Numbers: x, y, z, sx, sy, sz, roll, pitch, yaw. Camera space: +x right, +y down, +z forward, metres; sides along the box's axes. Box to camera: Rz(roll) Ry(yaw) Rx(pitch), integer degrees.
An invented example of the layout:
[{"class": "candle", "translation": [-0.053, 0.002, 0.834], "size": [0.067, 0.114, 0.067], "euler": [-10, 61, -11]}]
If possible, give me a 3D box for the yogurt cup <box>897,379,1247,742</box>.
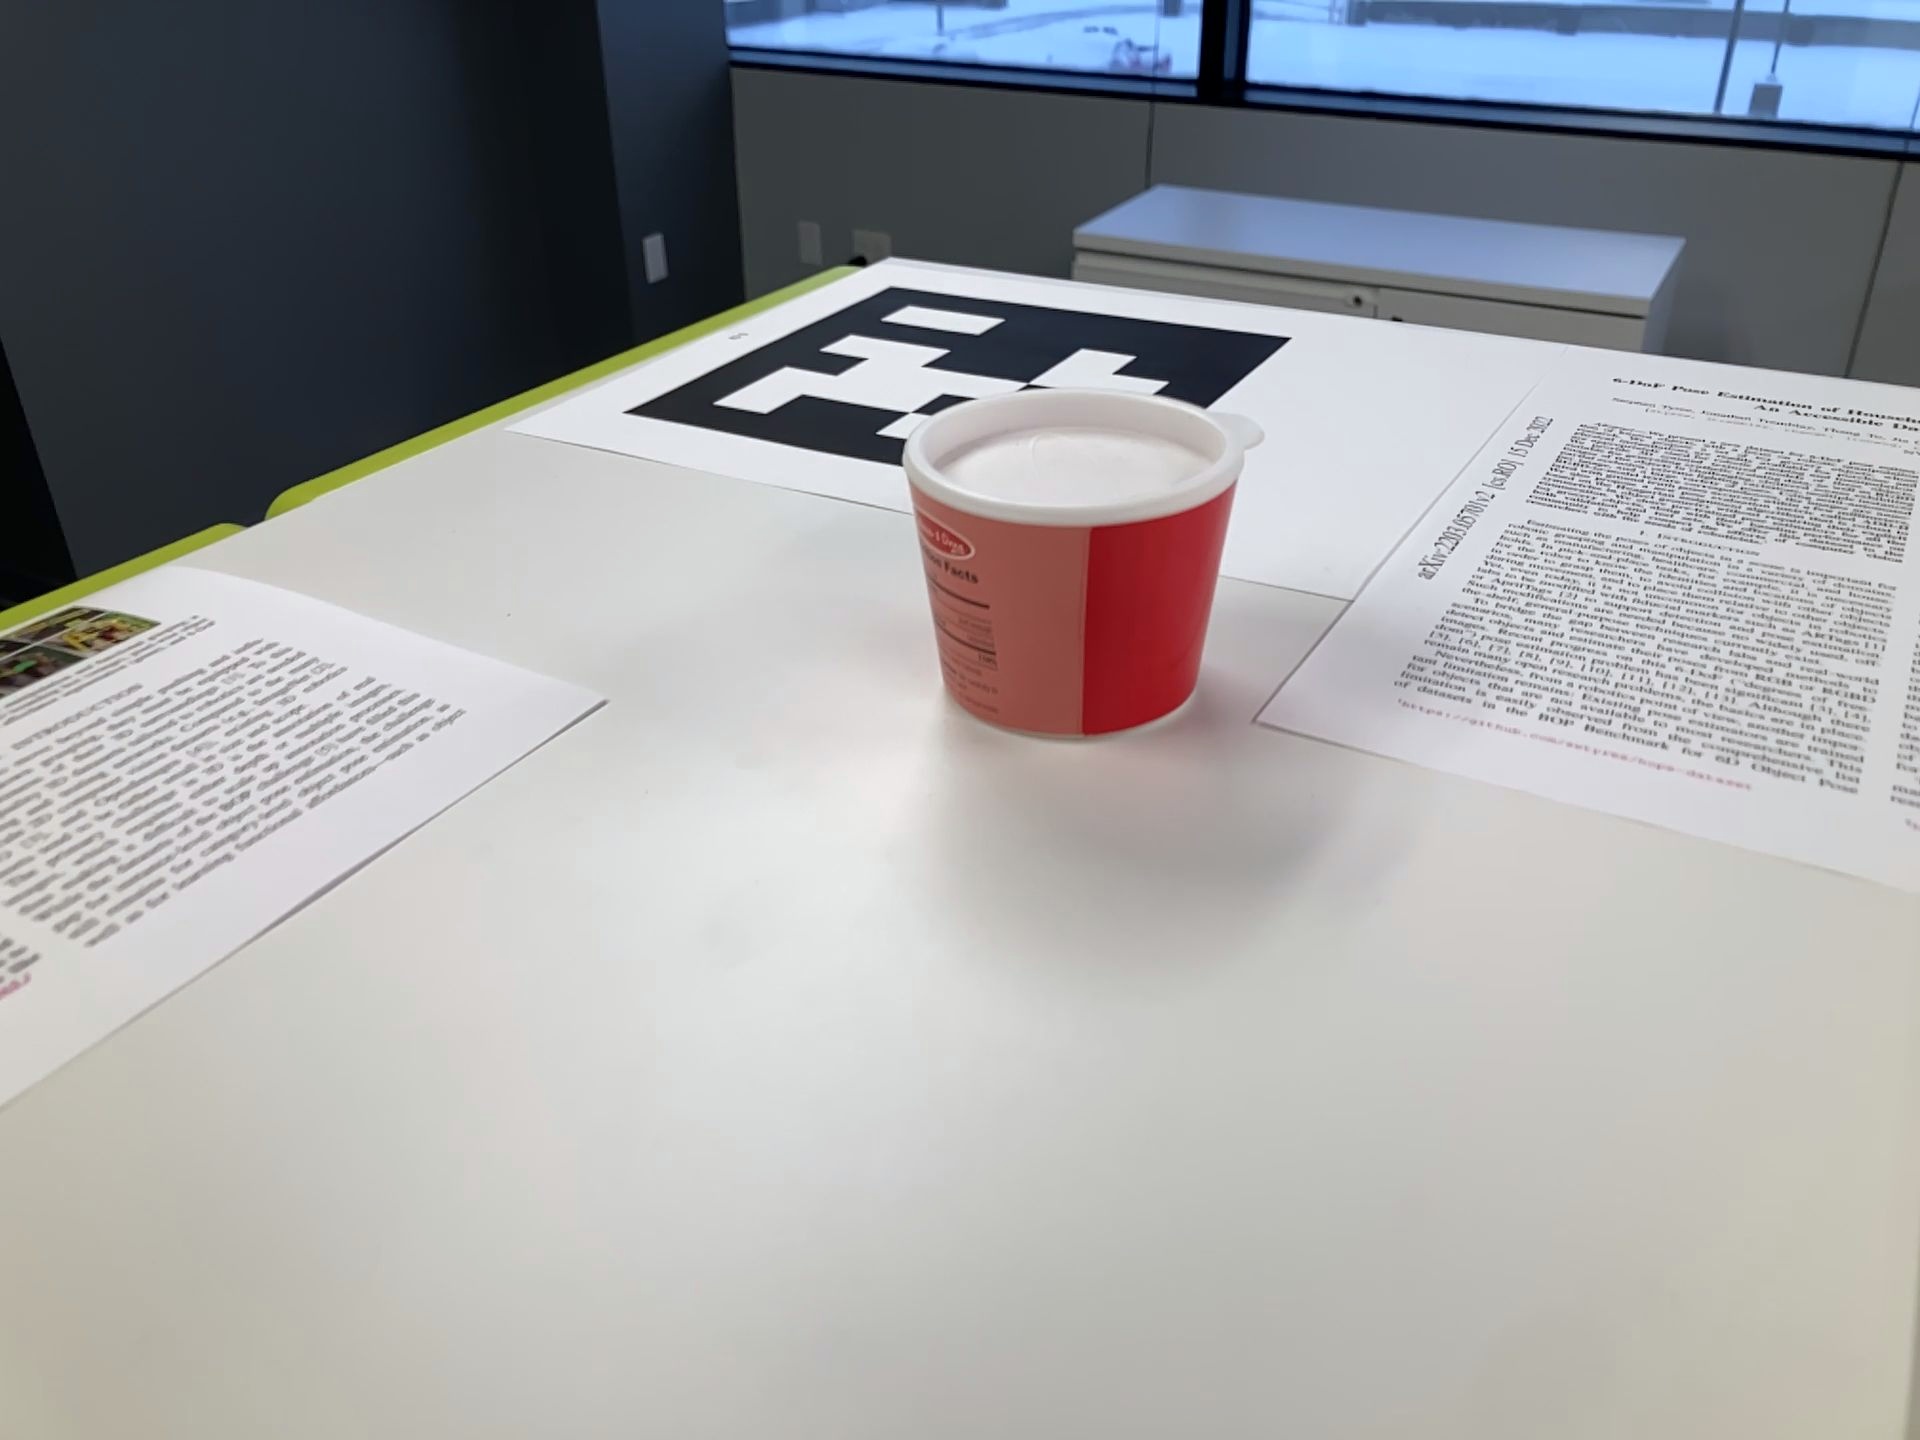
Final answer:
[{"class": "yogurt cup", "translation": [0.023, -0.032, 0.322], "size": [0.072, 0.054, 0.072], "euler": [-2, 30, 1]}]
